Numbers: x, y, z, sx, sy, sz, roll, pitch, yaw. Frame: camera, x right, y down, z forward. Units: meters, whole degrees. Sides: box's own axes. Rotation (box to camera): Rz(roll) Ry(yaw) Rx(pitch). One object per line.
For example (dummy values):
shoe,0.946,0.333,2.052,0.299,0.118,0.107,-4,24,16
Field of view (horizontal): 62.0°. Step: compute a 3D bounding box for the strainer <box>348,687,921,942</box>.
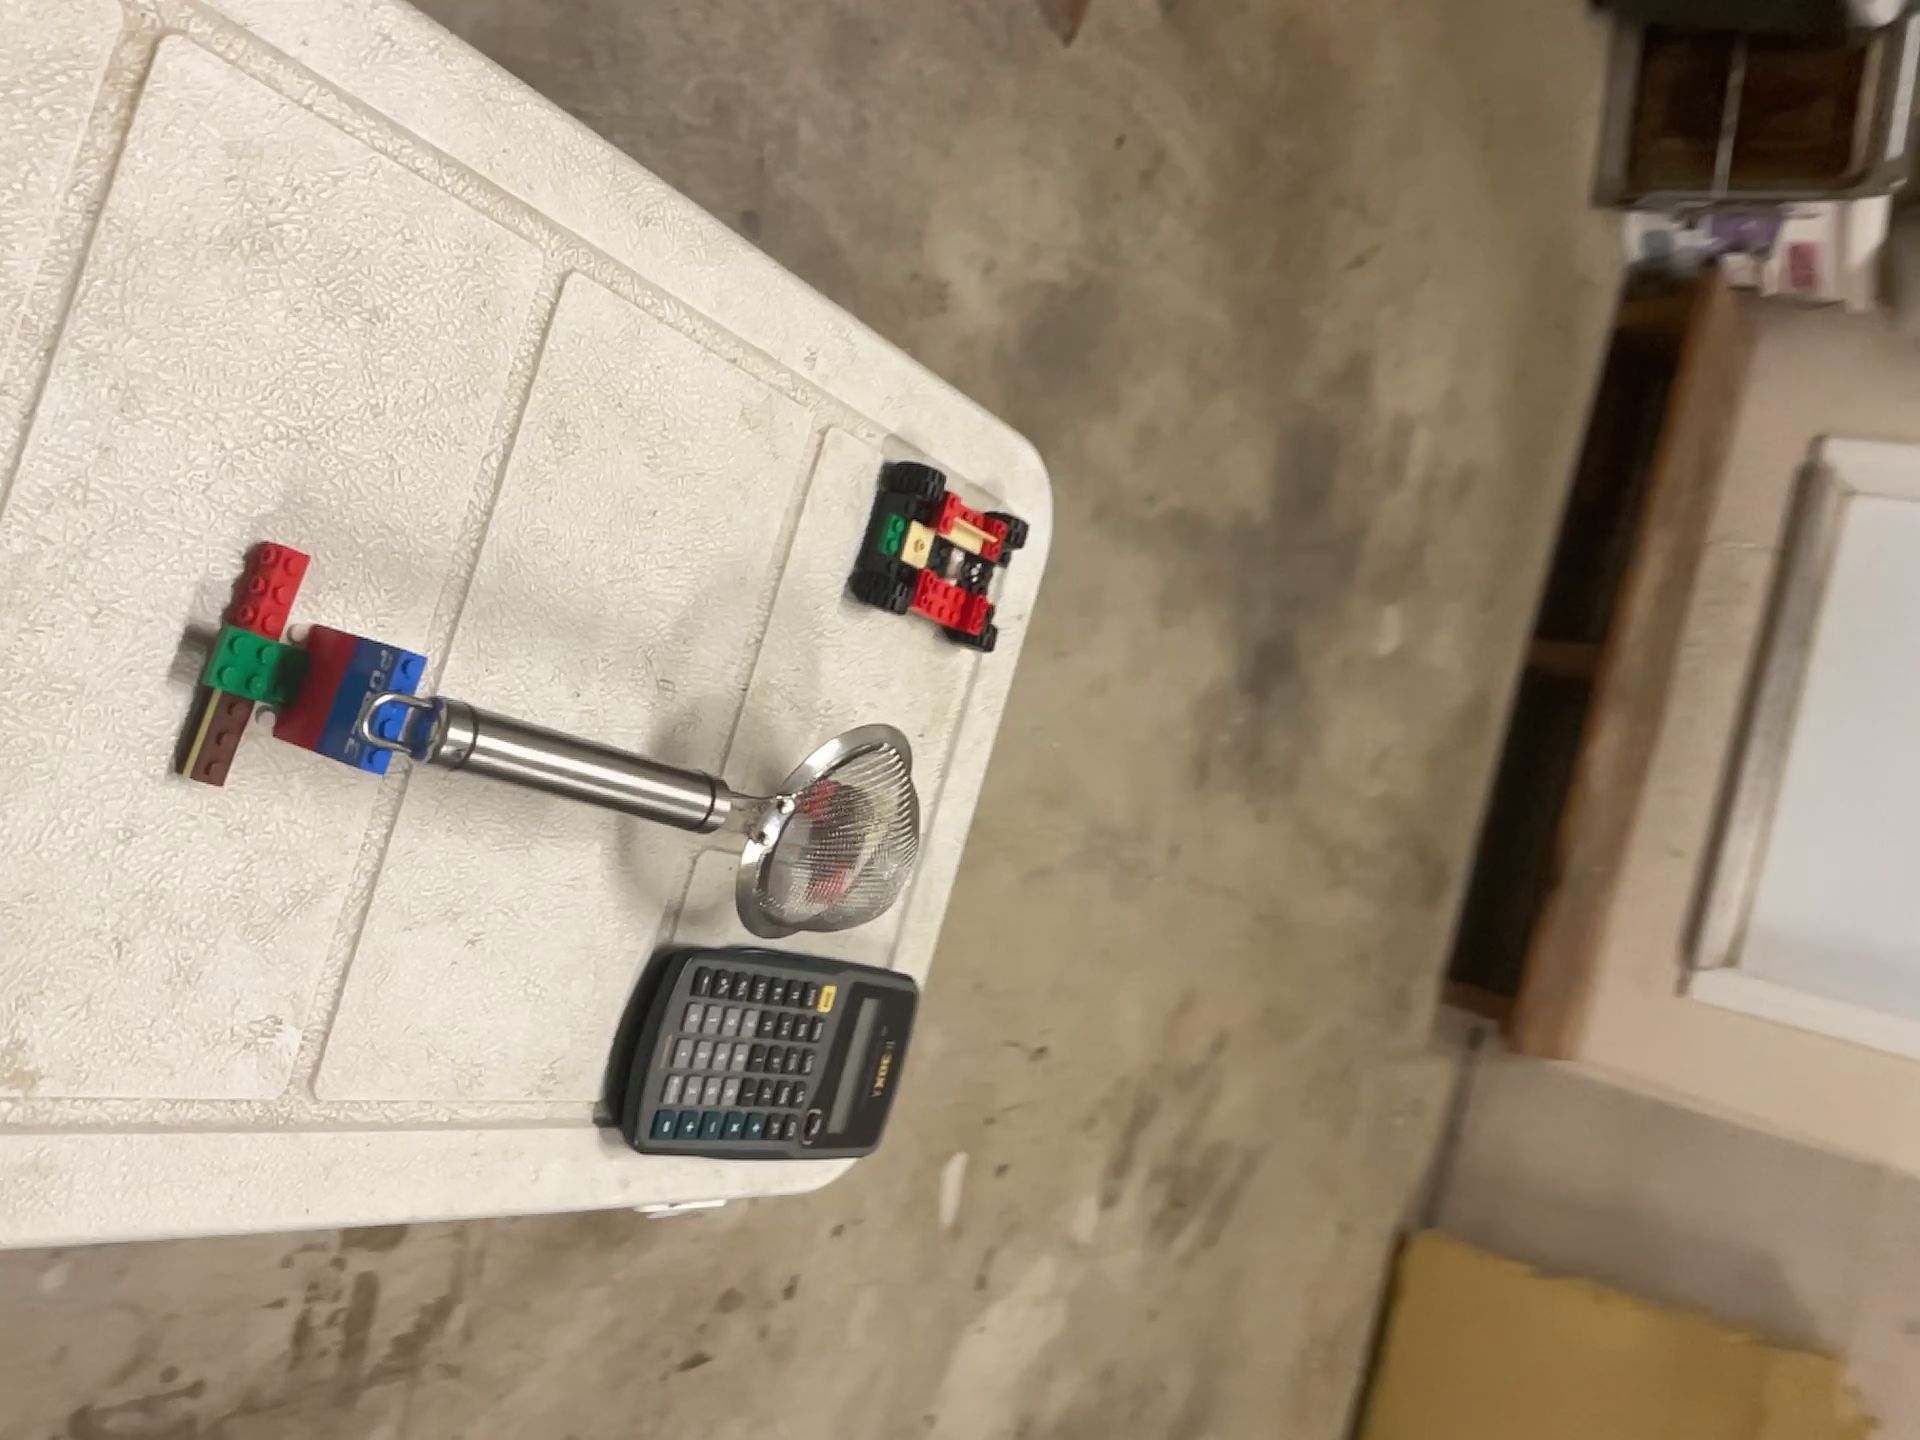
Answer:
strainer,-0.077,0.028,0.492,0.258,0.050,0.087,22,99,-53
